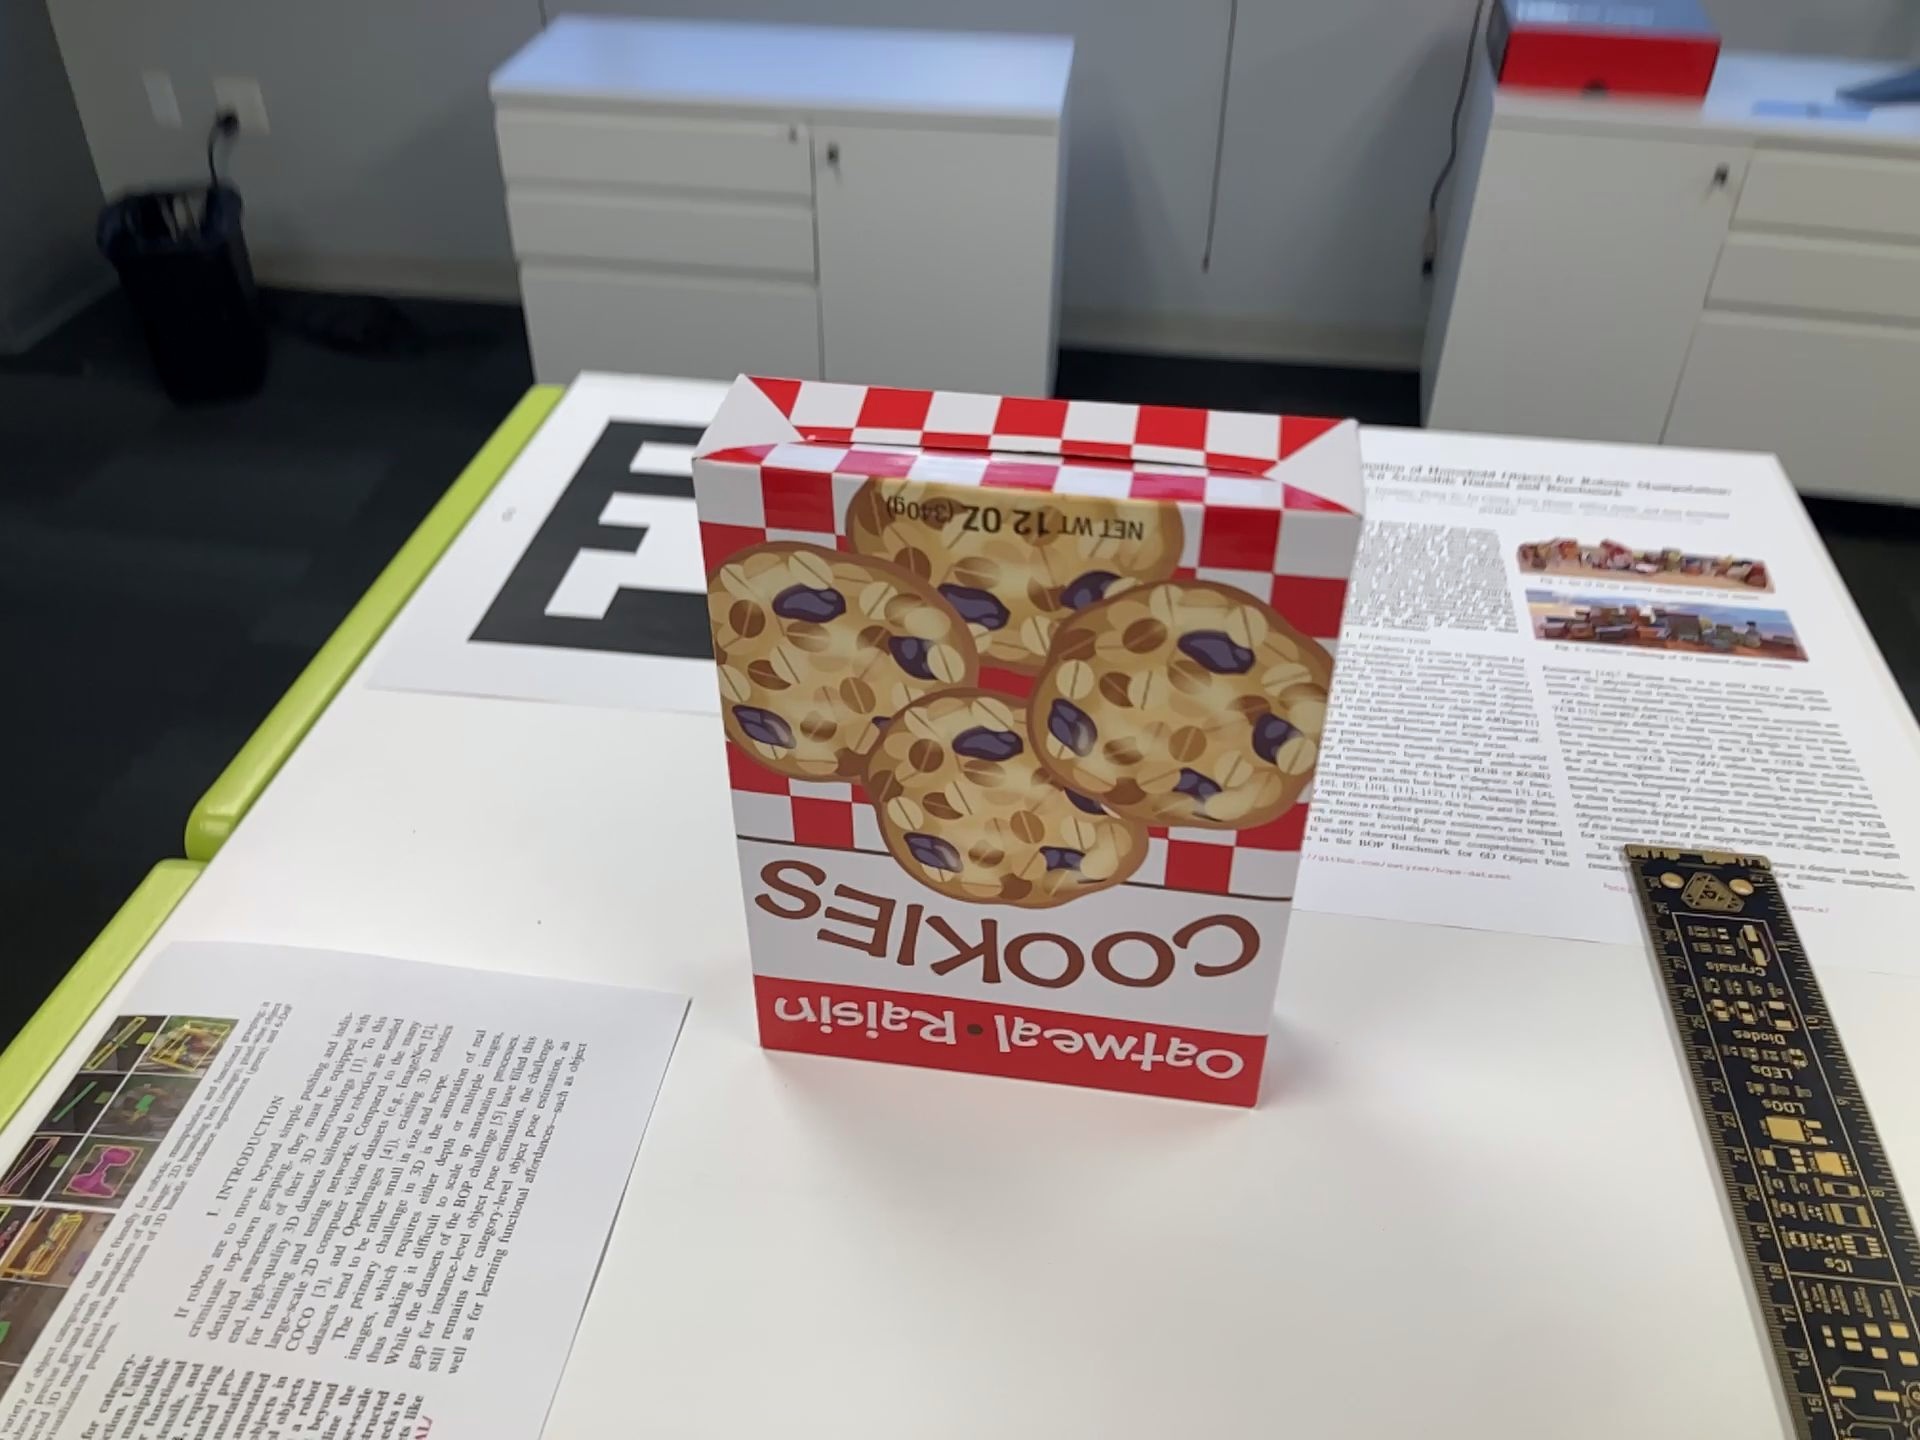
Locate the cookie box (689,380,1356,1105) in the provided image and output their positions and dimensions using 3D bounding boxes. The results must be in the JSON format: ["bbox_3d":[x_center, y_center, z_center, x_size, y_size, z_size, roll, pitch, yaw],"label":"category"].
[{"bbox_3d":[0.013,0.012,0.352,0.123,0.167,0.040,5,39,8],"label":"cookie box"}]
